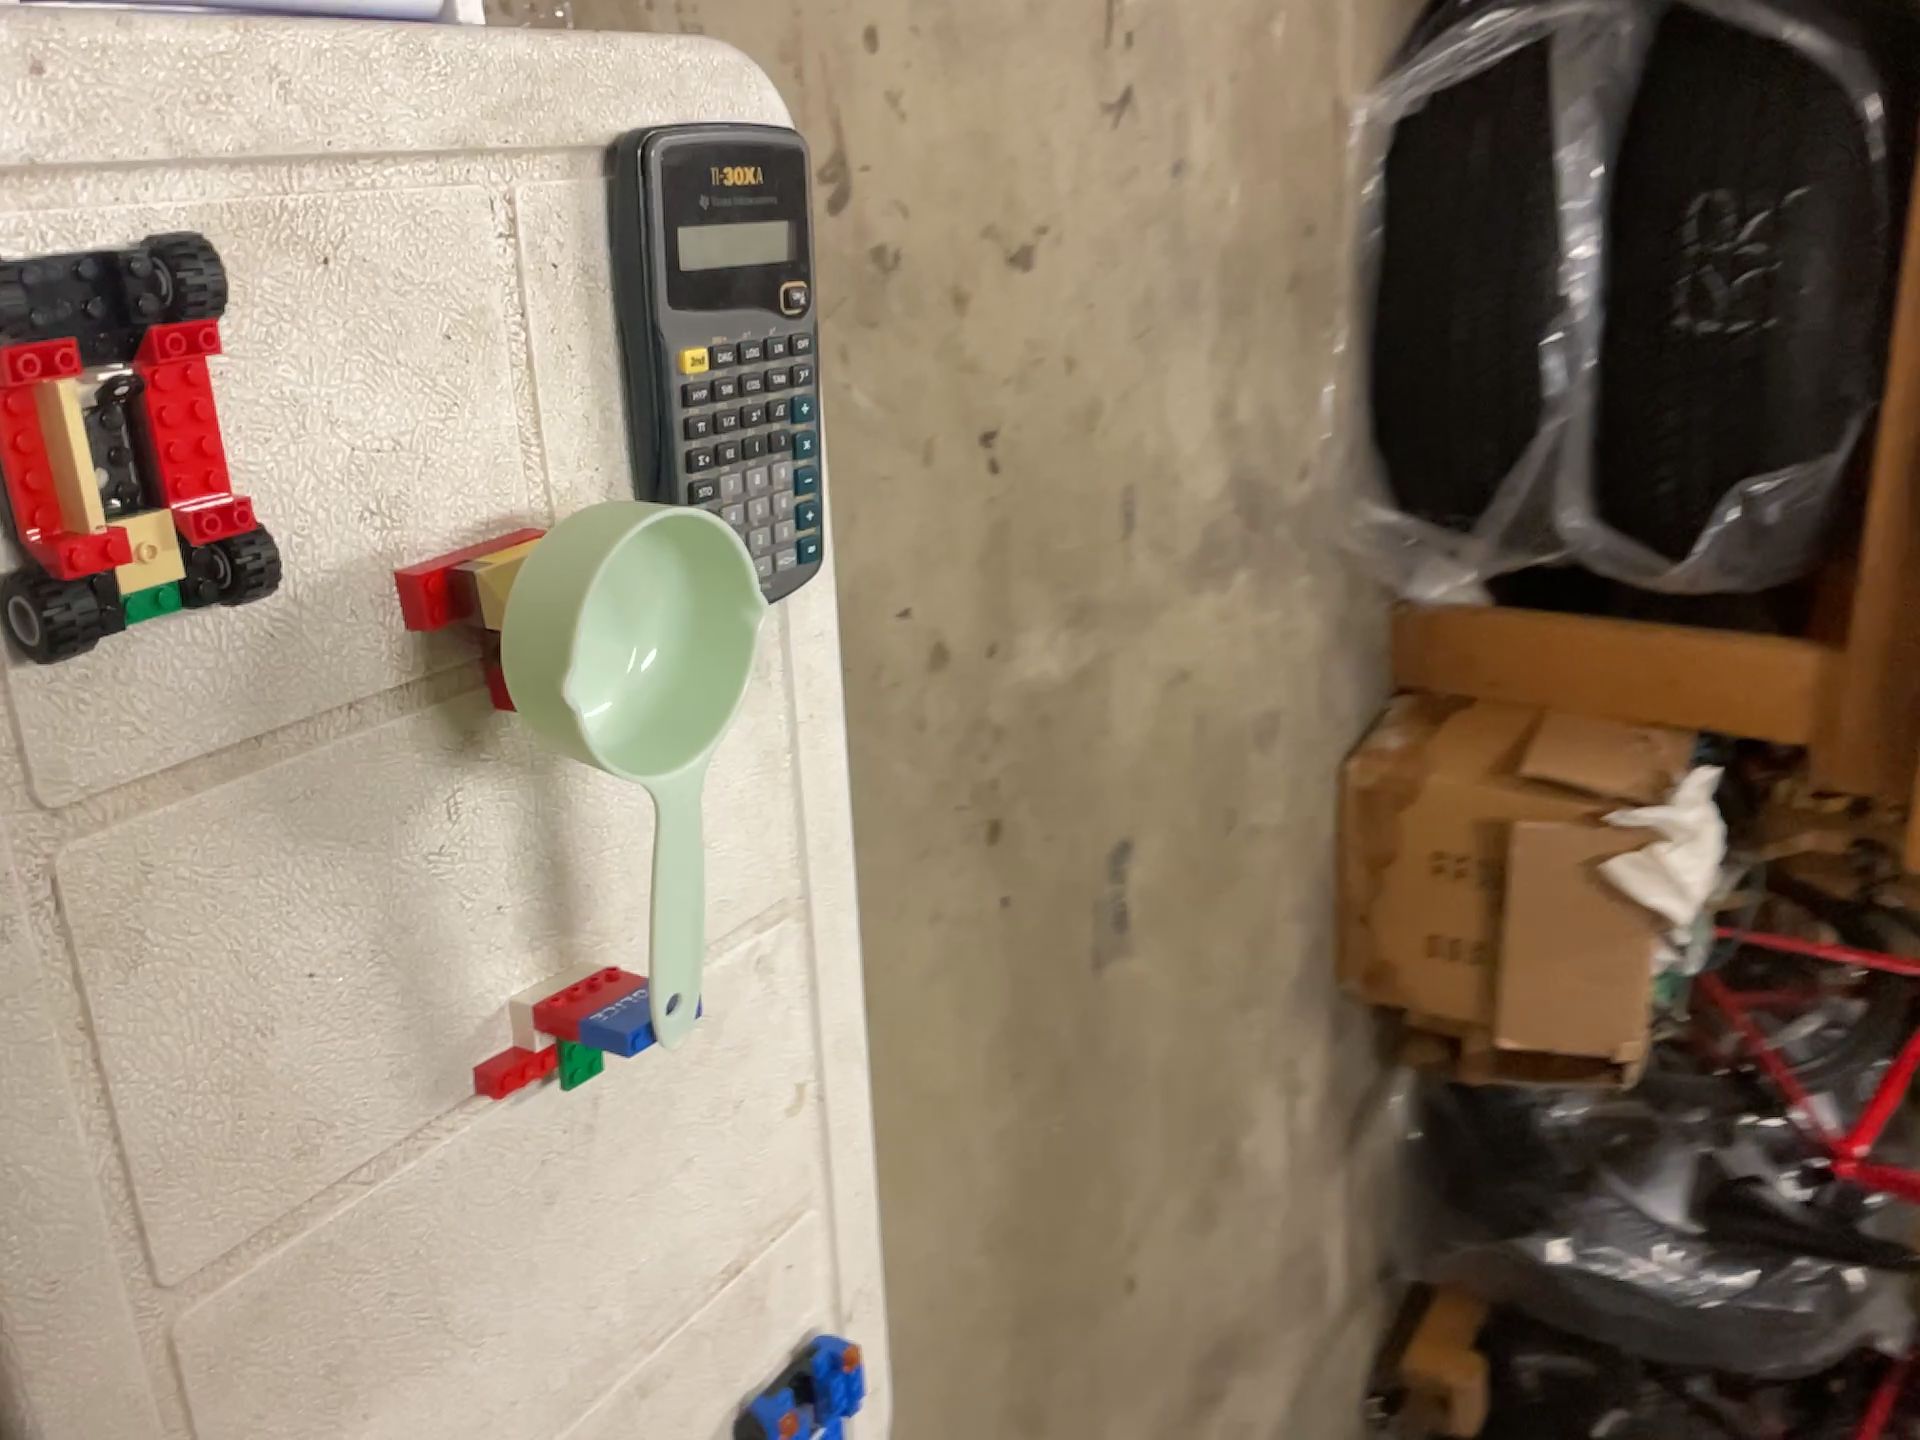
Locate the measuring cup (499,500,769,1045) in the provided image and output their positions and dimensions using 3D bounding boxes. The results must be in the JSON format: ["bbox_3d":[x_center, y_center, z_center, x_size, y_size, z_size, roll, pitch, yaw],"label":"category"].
[{"bbox_3d":[-0.094,0.018,0.460,0.083,0.038,0.167,-33,131,-52],"label":"measuring cup"}]
